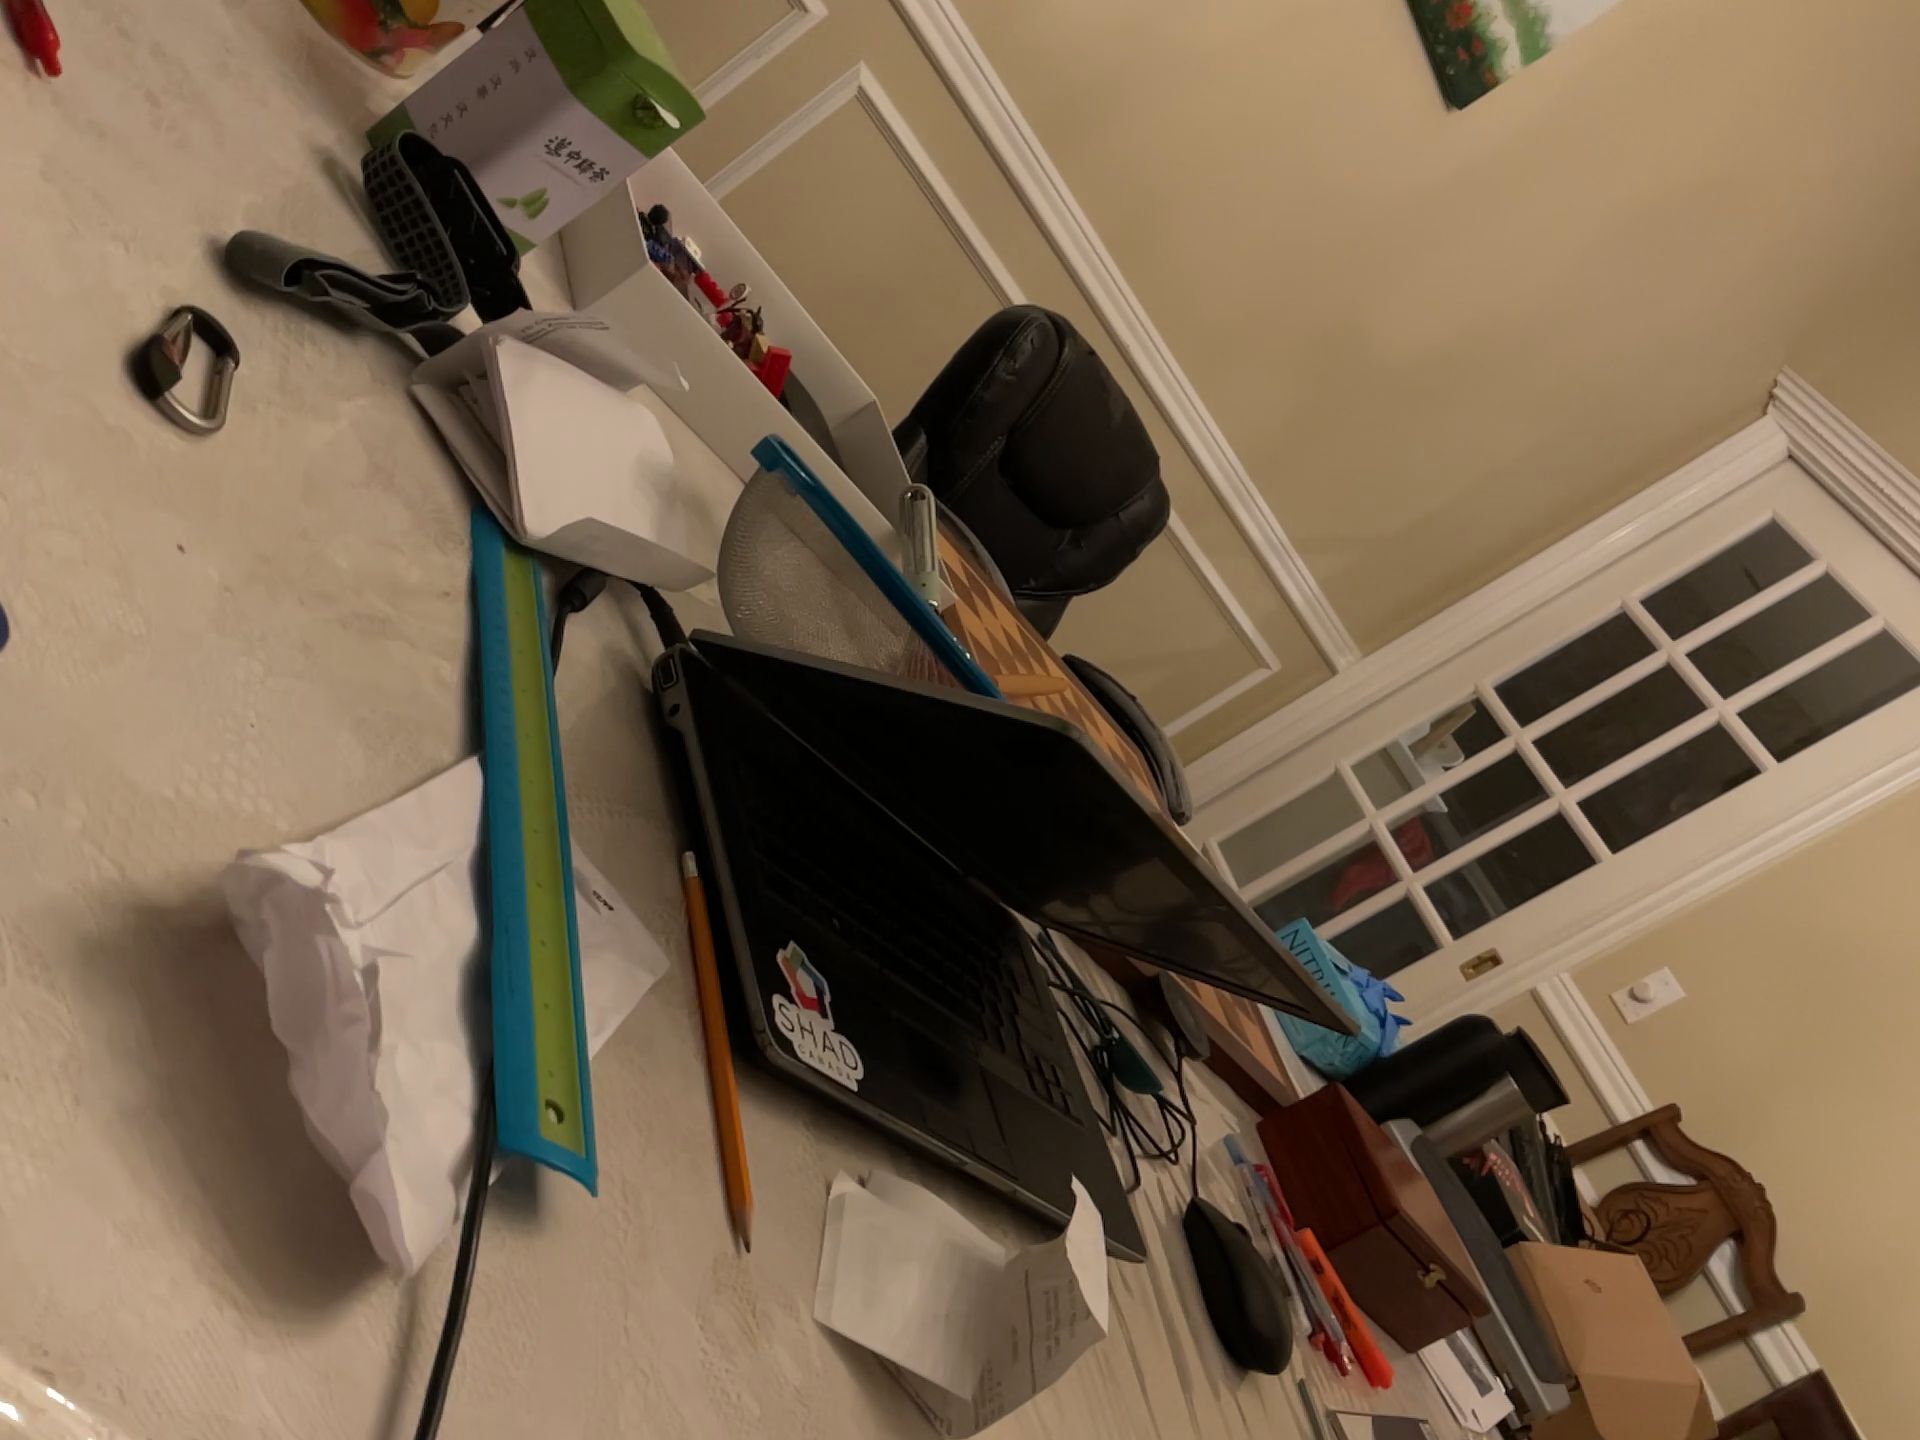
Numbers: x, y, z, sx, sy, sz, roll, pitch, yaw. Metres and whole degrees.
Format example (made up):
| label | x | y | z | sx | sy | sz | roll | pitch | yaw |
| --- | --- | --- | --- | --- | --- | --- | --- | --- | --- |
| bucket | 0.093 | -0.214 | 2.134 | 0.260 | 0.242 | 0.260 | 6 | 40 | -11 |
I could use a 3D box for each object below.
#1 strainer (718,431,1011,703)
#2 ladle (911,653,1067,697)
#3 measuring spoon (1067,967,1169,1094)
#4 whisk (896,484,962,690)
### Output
| label | x | y | z | sx | sy | sz | roll | pitch | yaw |
| --- | --- | --- | --- | --- | --- | --- | --- | --- | --- |
| strainer | -0.022 | 0.007 | 0.845 | 0.340 | 0.095 | 0.211 | 51 | 0 | -5 |
| ladle | 0.033 | -0.029 | 1.232 | 0.069 | 0.031 | 0.315 | 38 | 13 | 16 |
| measuring spoon | 0.085 | 0.188 | 1.013 | 0.129 | 0.021 | 0.042 | 50 | 1 | 22 |
| whisk | -0.025 | -0.064 | 1.042 | 0.059 | 0.057 | 0.247 | 89 | -3 | -53 |
